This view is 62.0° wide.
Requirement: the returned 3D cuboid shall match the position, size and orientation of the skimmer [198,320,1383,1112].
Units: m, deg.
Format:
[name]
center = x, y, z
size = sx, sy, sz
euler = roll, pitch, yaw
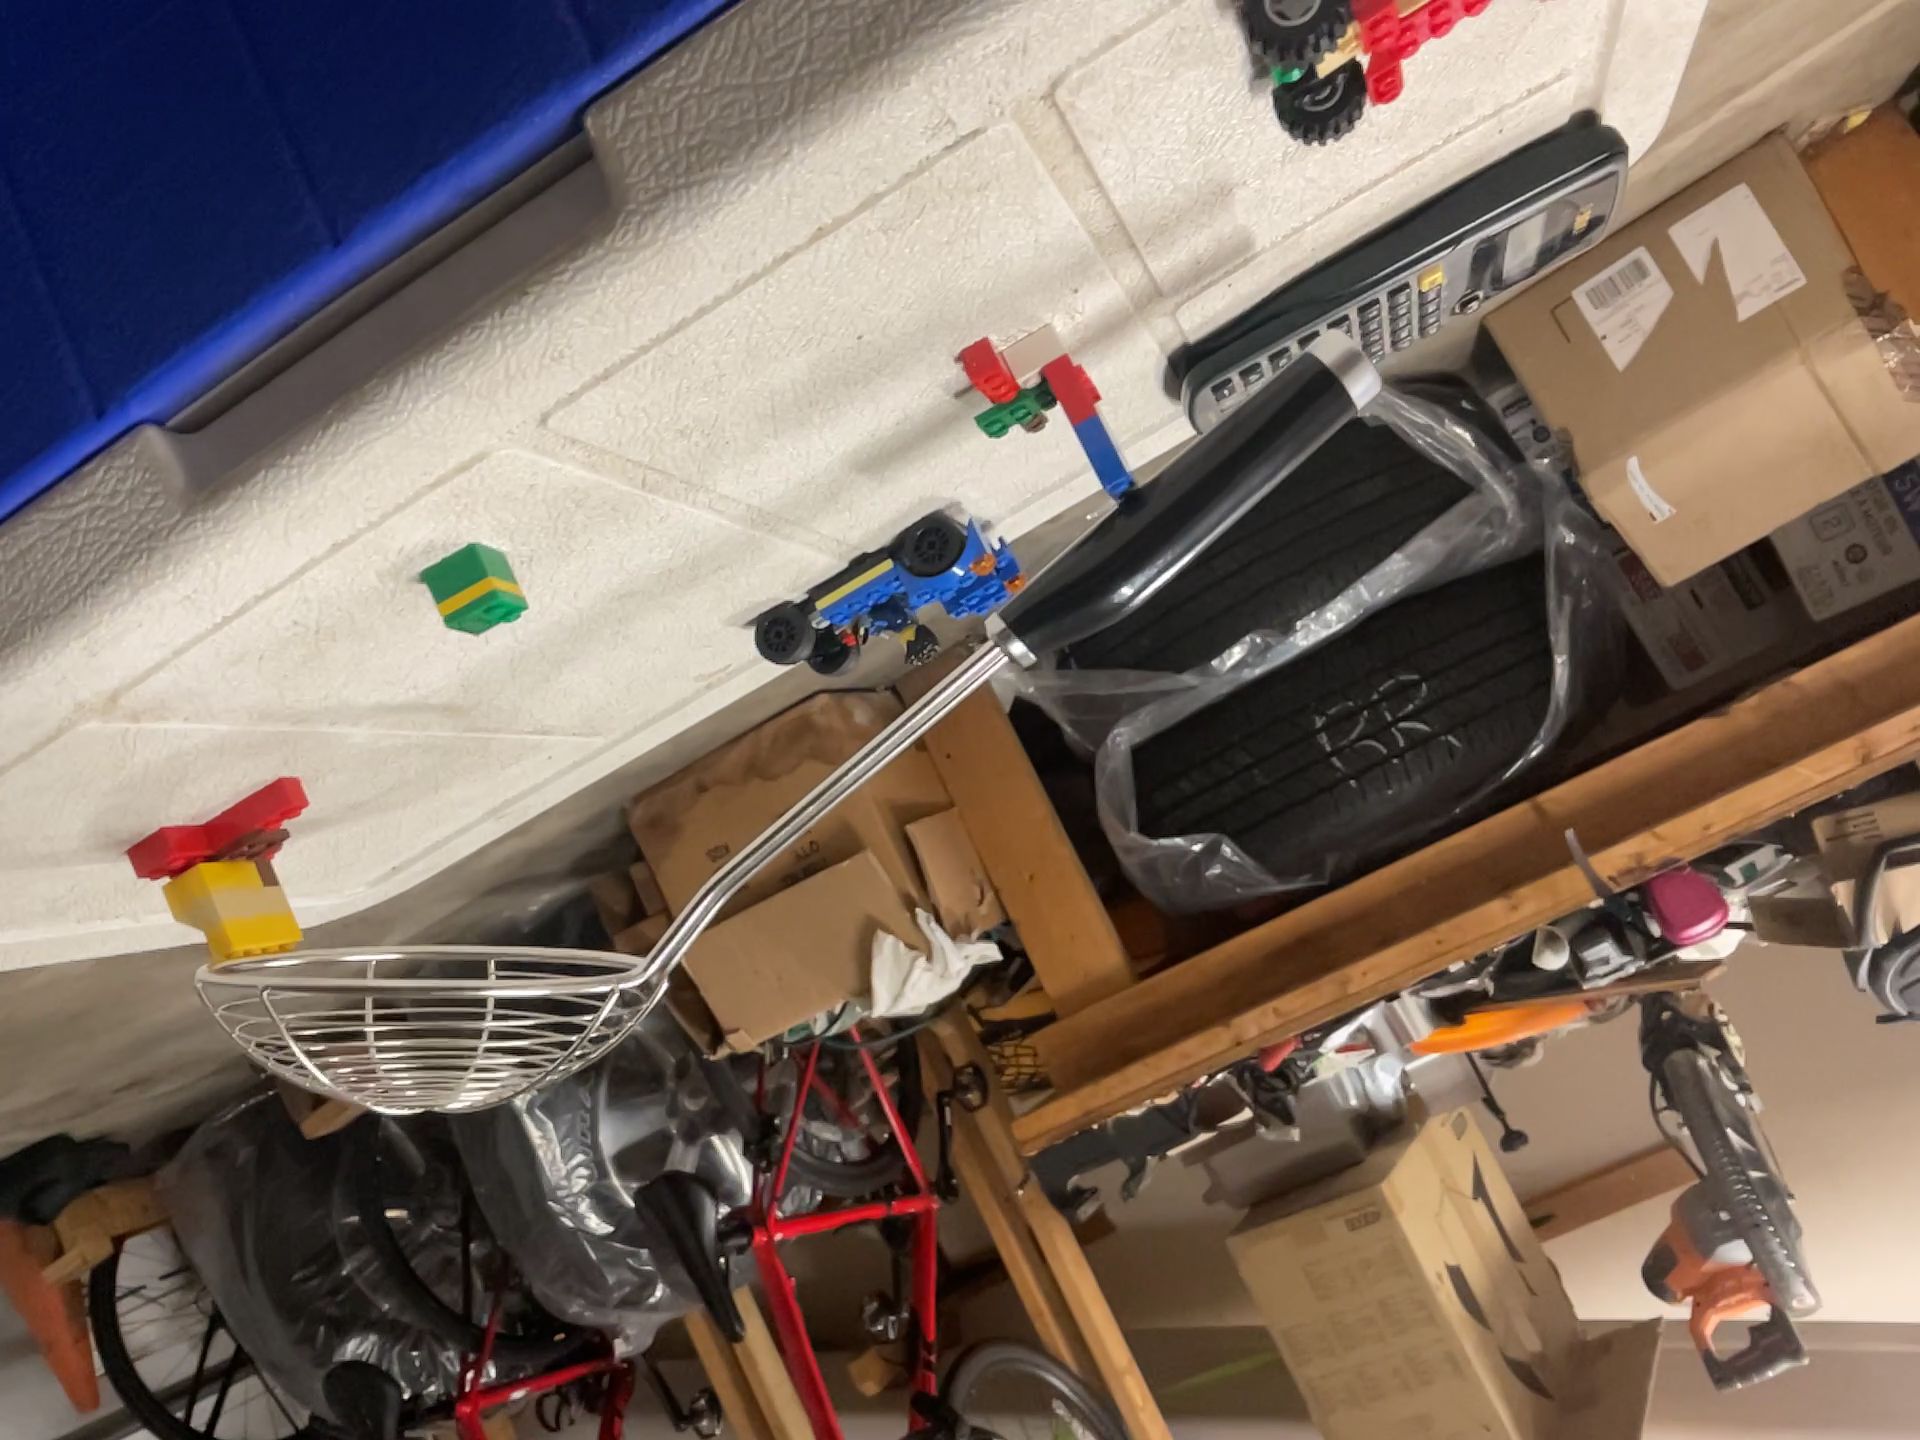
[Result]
[skimmer]
center = -0.050, -0.008, 0.453
size = 0.363, 0.090, 0.127
euler = -40, 169, 6
